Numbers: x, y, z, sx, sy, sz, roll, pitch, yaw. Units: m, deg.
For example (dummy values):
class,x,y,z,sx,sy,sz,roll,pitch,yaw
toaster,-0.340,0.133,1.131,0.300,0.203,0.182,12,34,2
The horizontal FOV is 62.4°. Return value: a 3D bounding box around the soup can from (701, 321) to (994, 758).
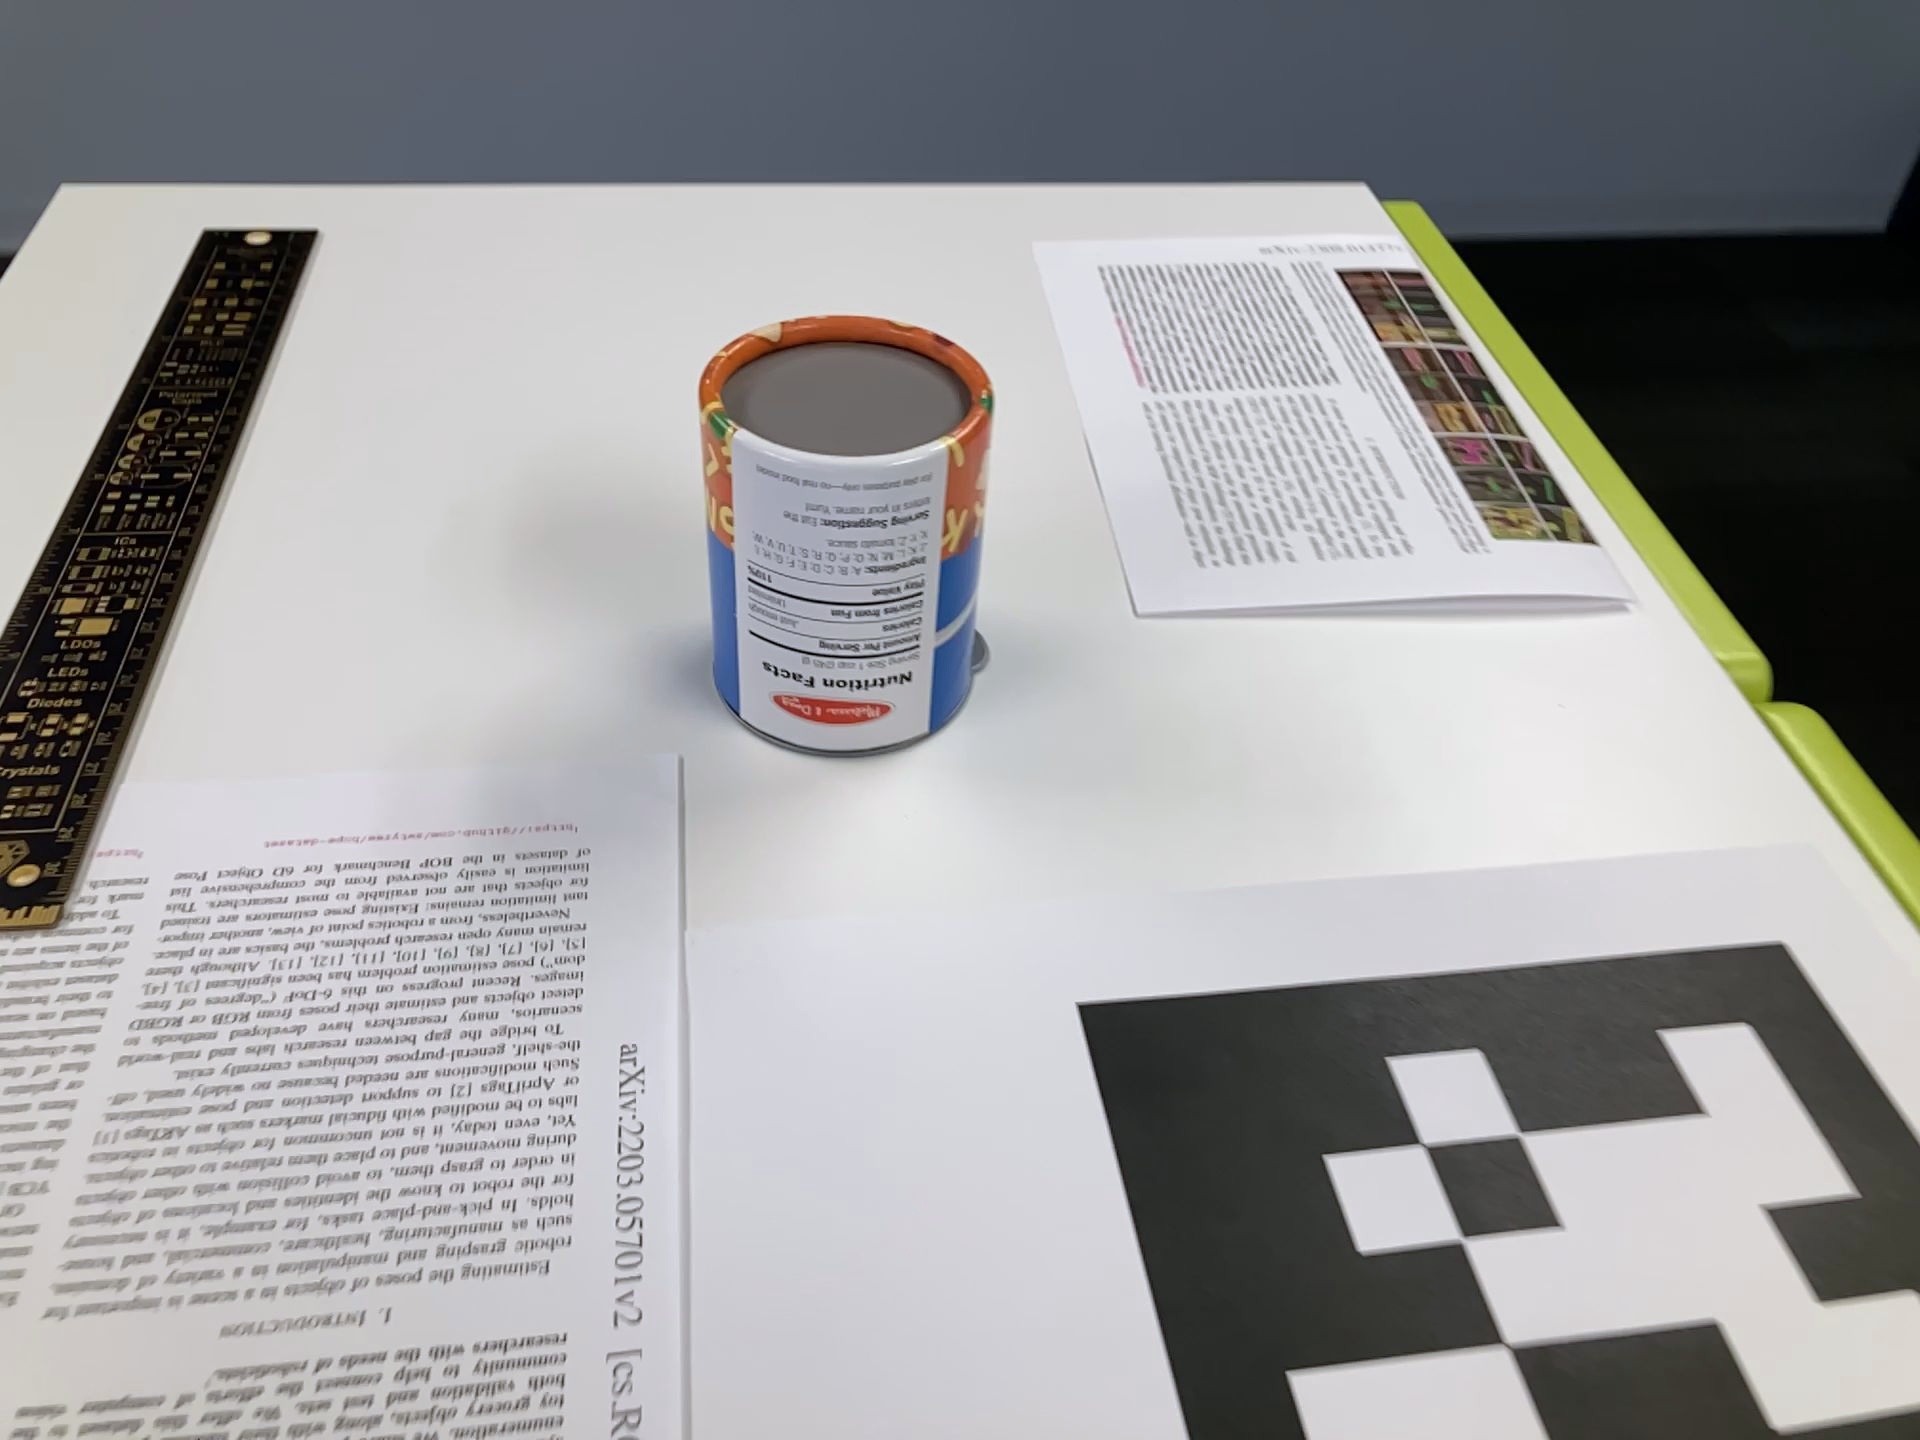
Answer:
class,x,y,z,sx,sy,sz,roll,pitch,yaw
soup can,-0.028,-0.045,0.384,0.071,0.084,0.071,3,42,-3
